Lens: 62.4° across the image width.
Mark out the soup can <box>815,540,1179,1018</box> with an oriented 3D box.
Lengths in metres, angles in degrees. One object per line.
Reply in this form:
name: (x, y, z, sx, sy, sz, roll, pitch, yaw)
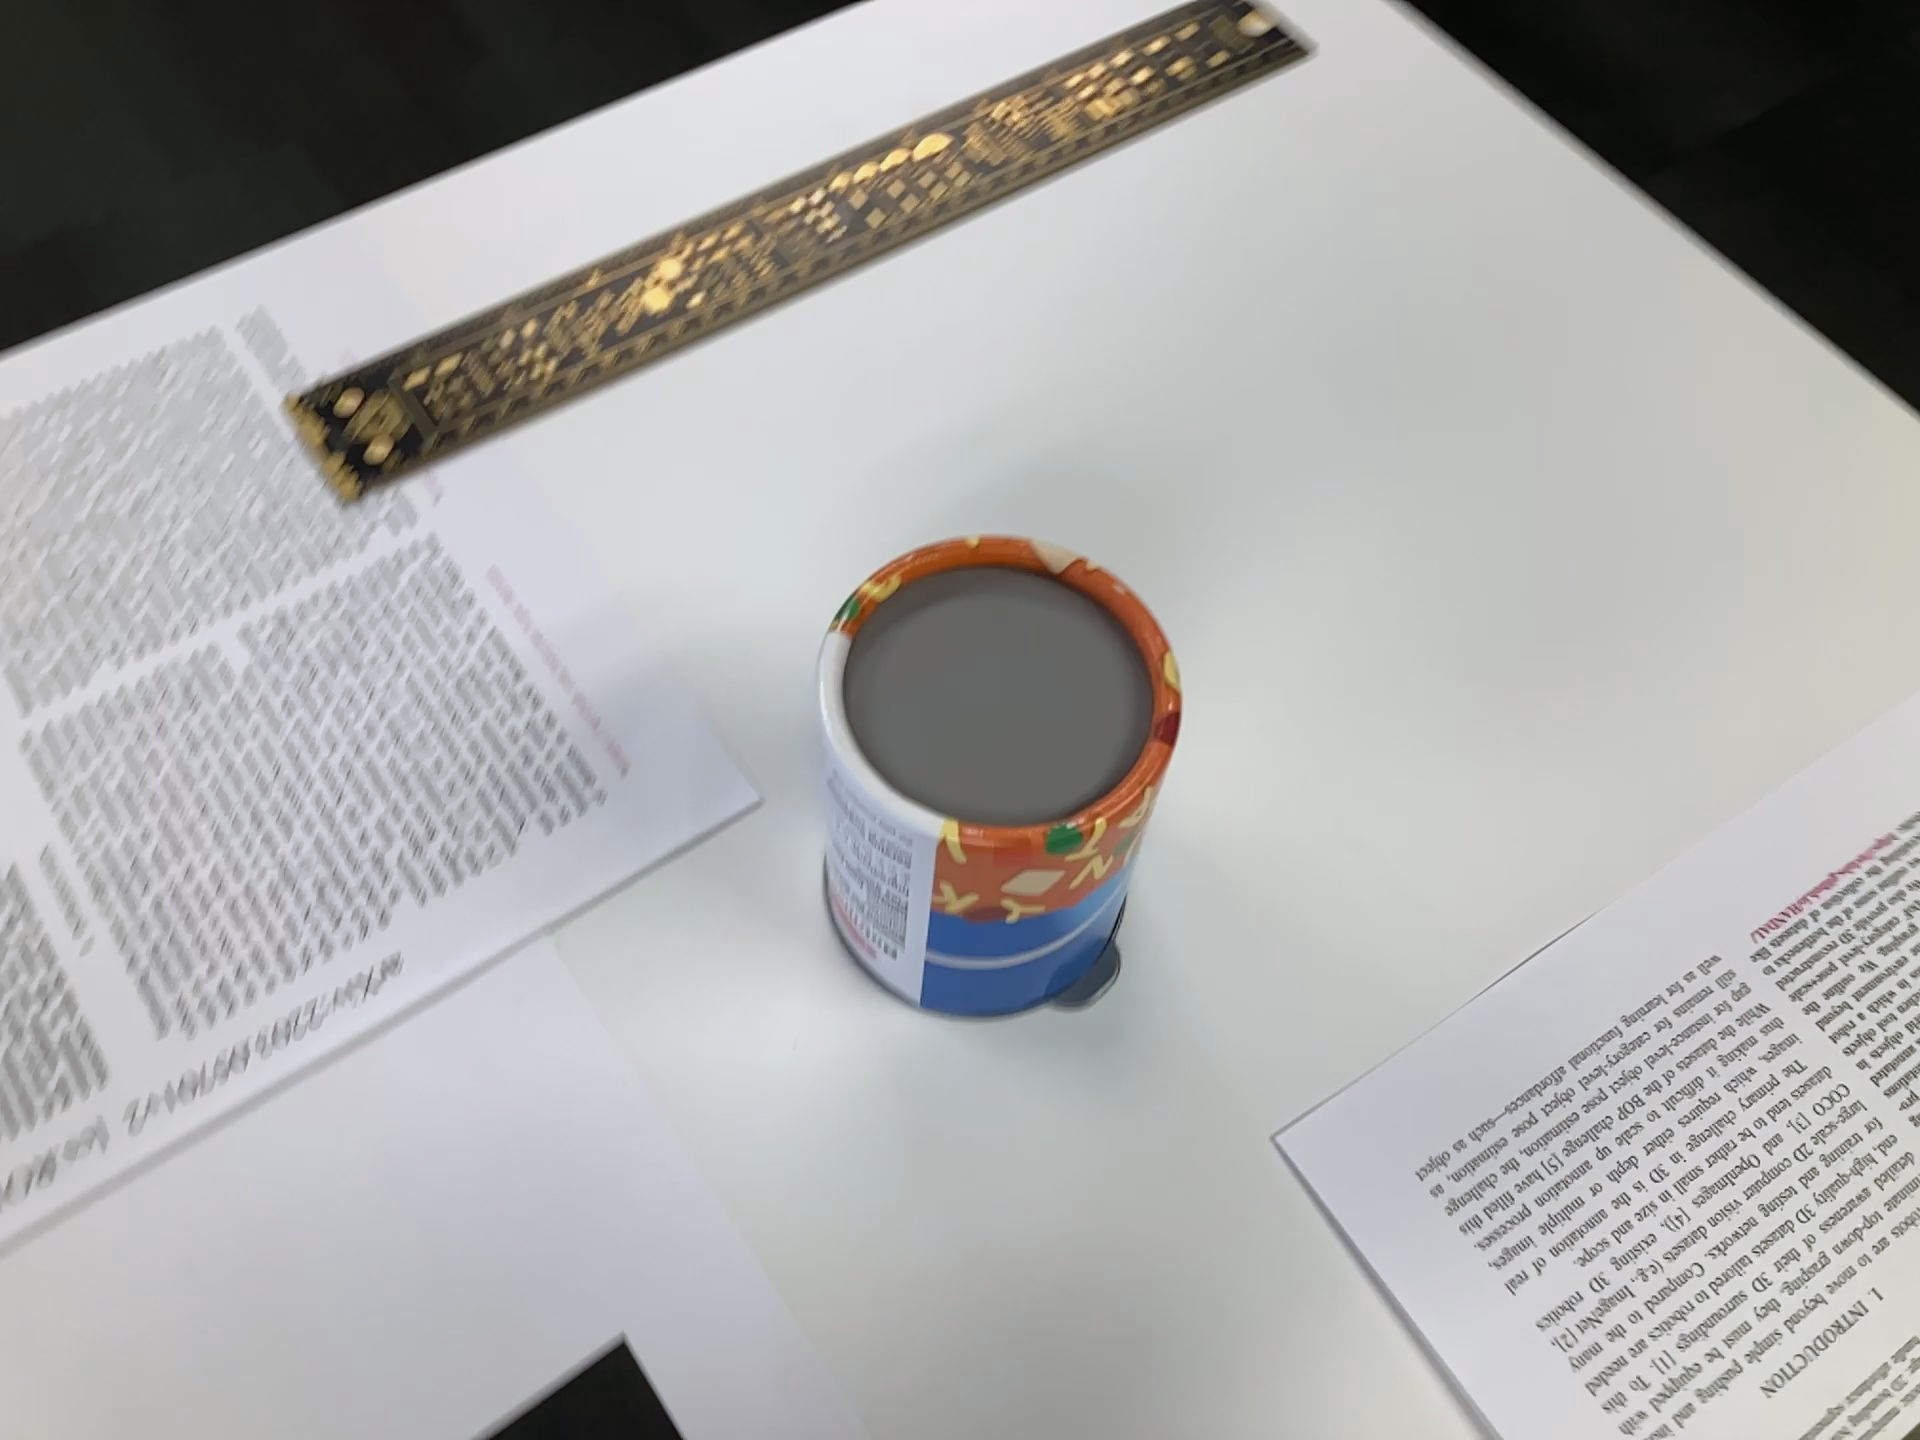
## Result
soup can: (0.007, 0.013, 0.317, 0.071, 0.084, 0.071, 1, 60, -2)
